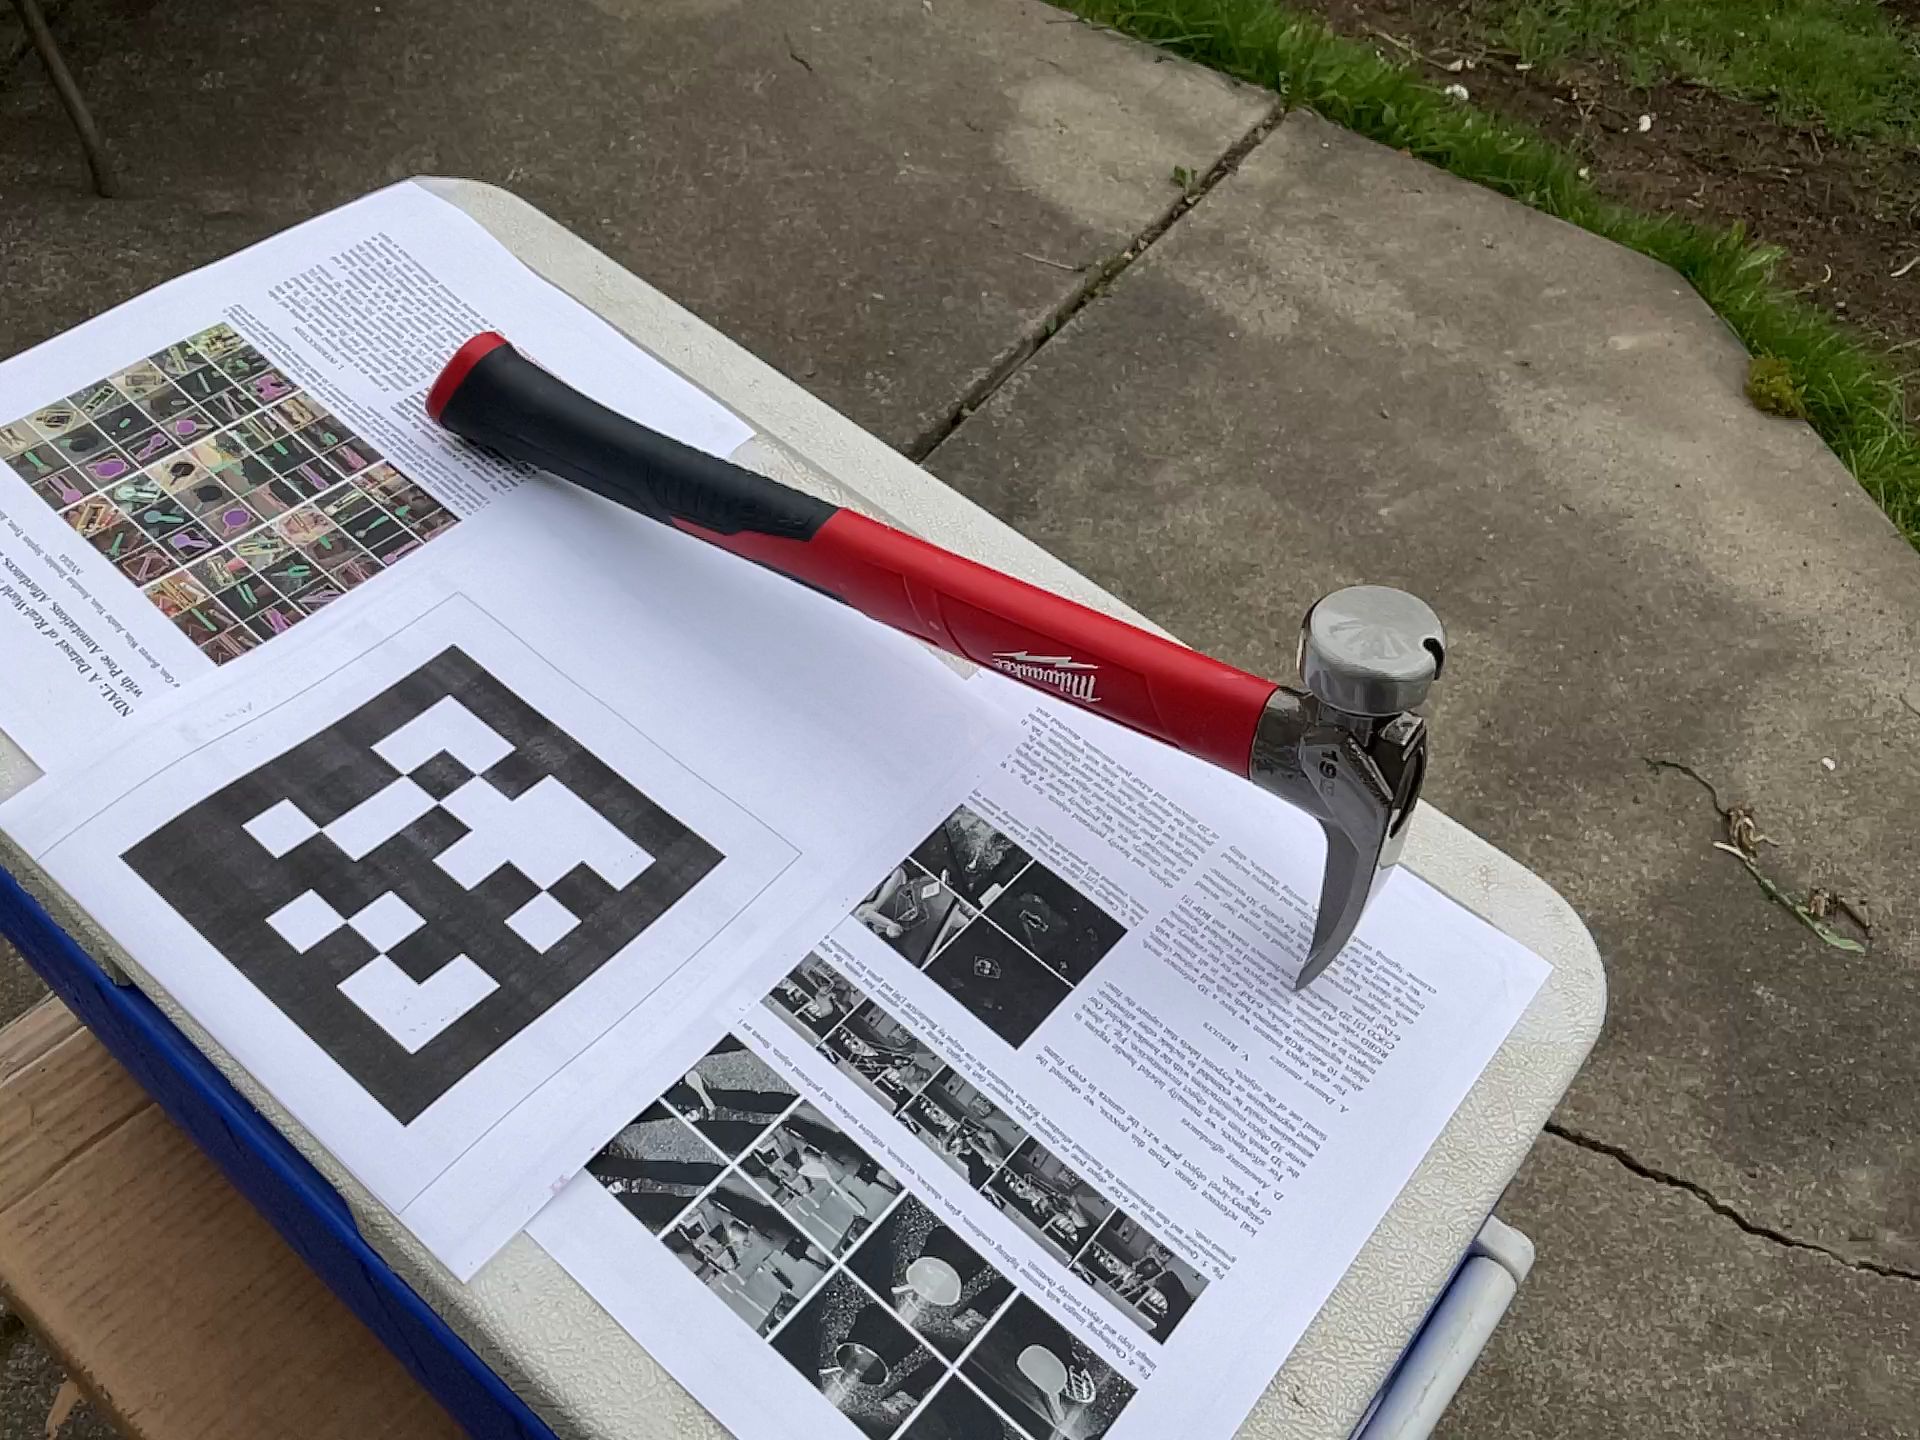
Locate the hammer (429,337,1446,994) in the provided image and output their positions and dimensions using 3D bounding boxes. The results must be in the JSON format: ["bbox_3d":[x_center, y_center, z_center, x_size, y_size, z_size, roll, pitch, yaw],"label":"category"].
[{"bbox_3d":[-0.032,-0.040,0.545,0.386,0.143,0.038,25,50,25],"label":"hammer"}]
